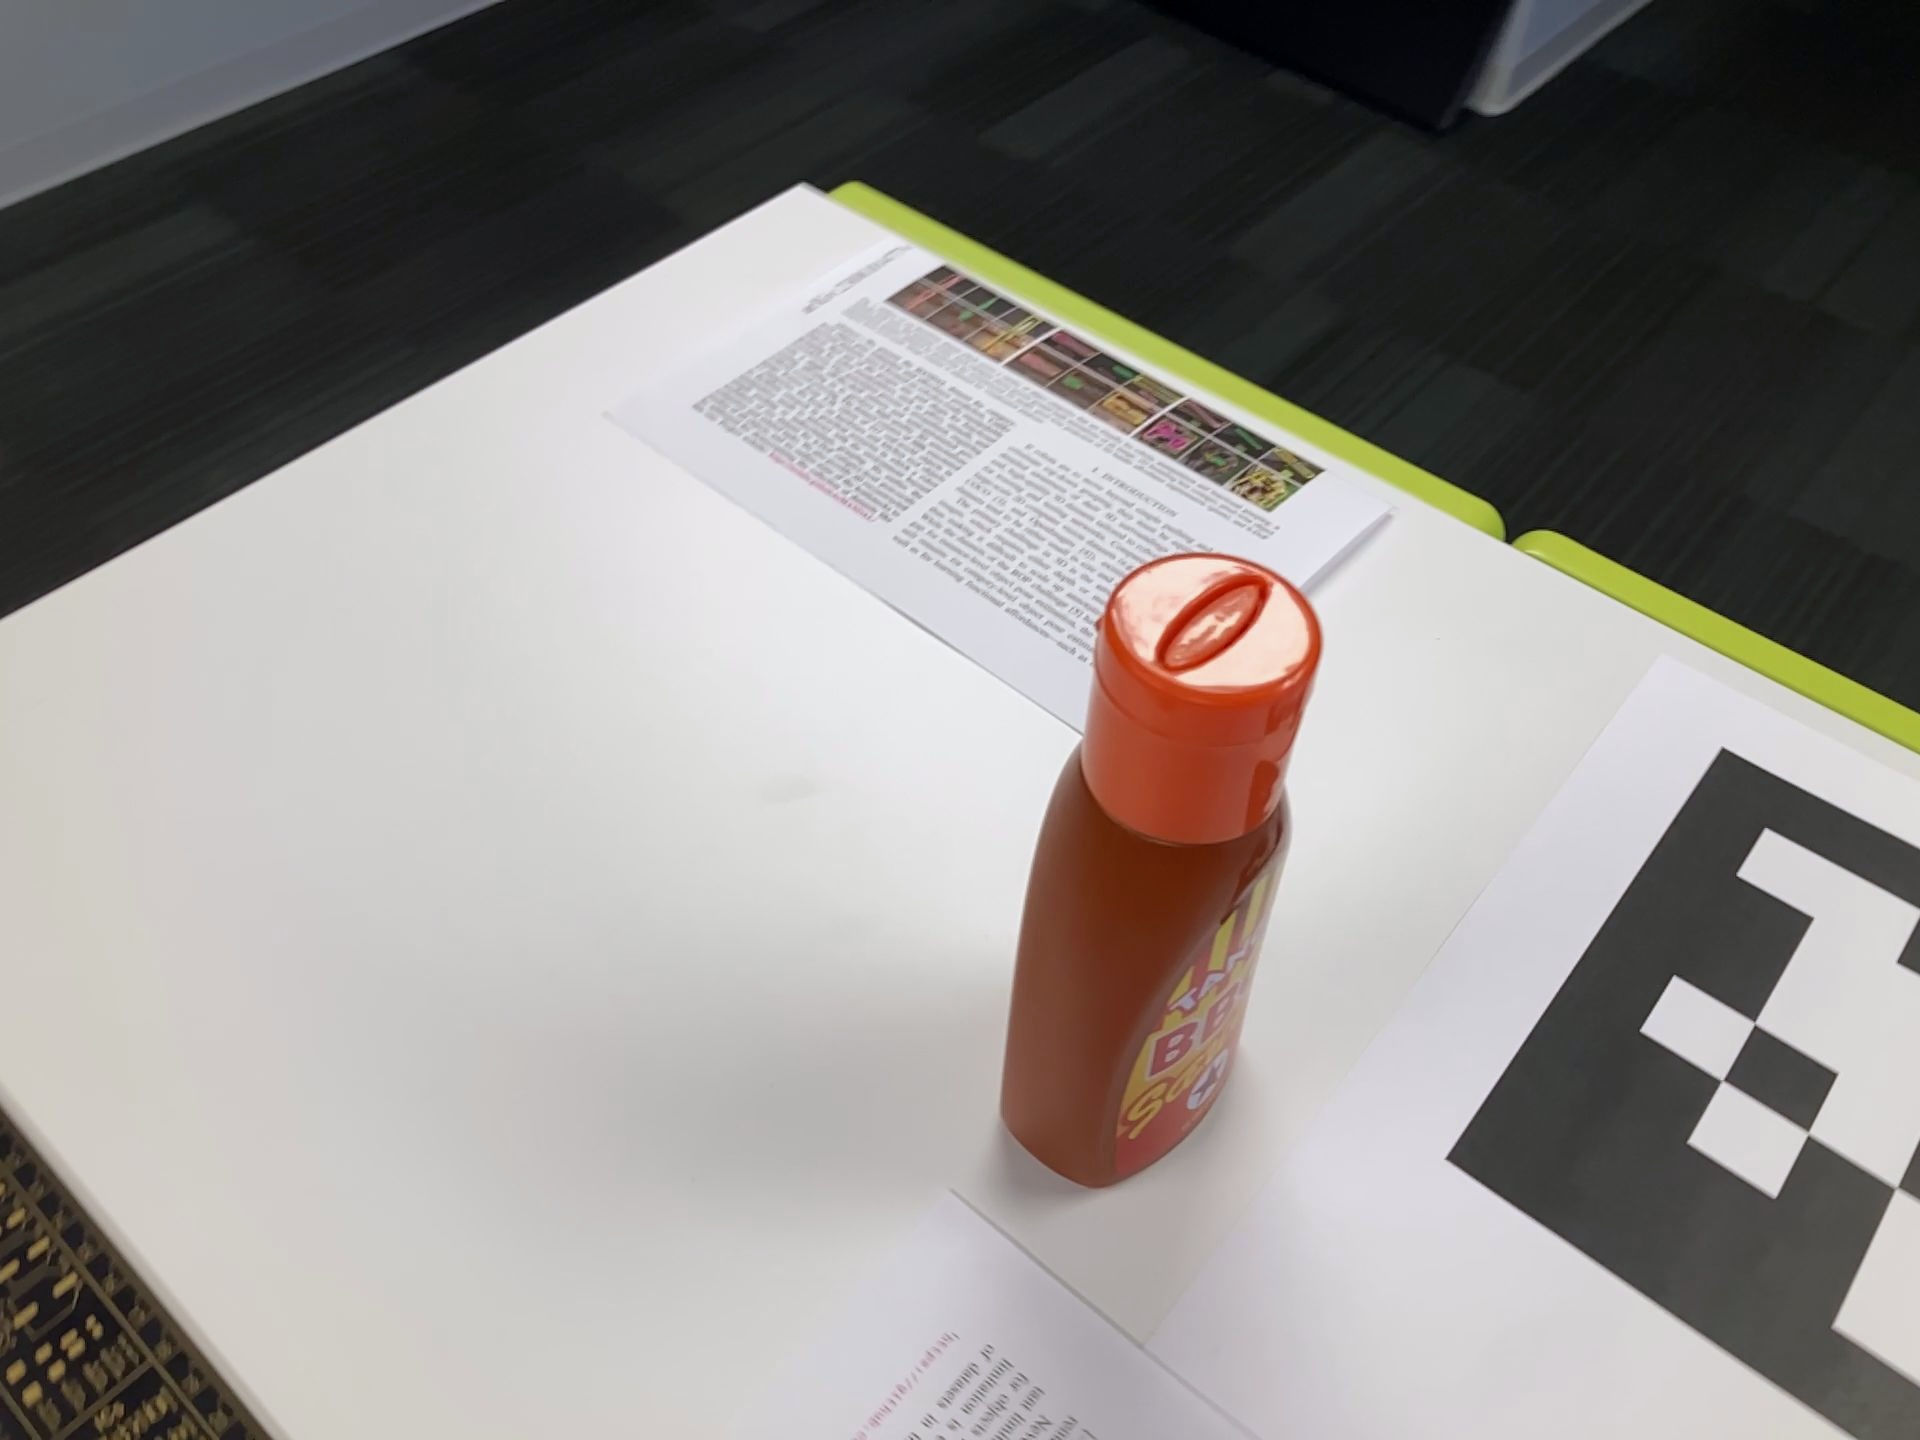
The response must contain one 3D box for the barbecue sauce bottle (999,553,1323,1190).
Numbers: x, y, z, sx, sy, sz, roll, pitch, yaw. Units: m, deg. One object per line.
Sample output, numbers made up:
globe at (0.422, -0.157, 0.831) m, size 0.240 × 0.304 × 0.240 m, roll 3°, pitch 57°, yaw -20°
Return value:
barbecue sauce bottle at (0.039, 0.033, 0.315) m, size 0.043 × 0.148 × 0.065 m, roll 34°, pitch 55°, yaw 26°
